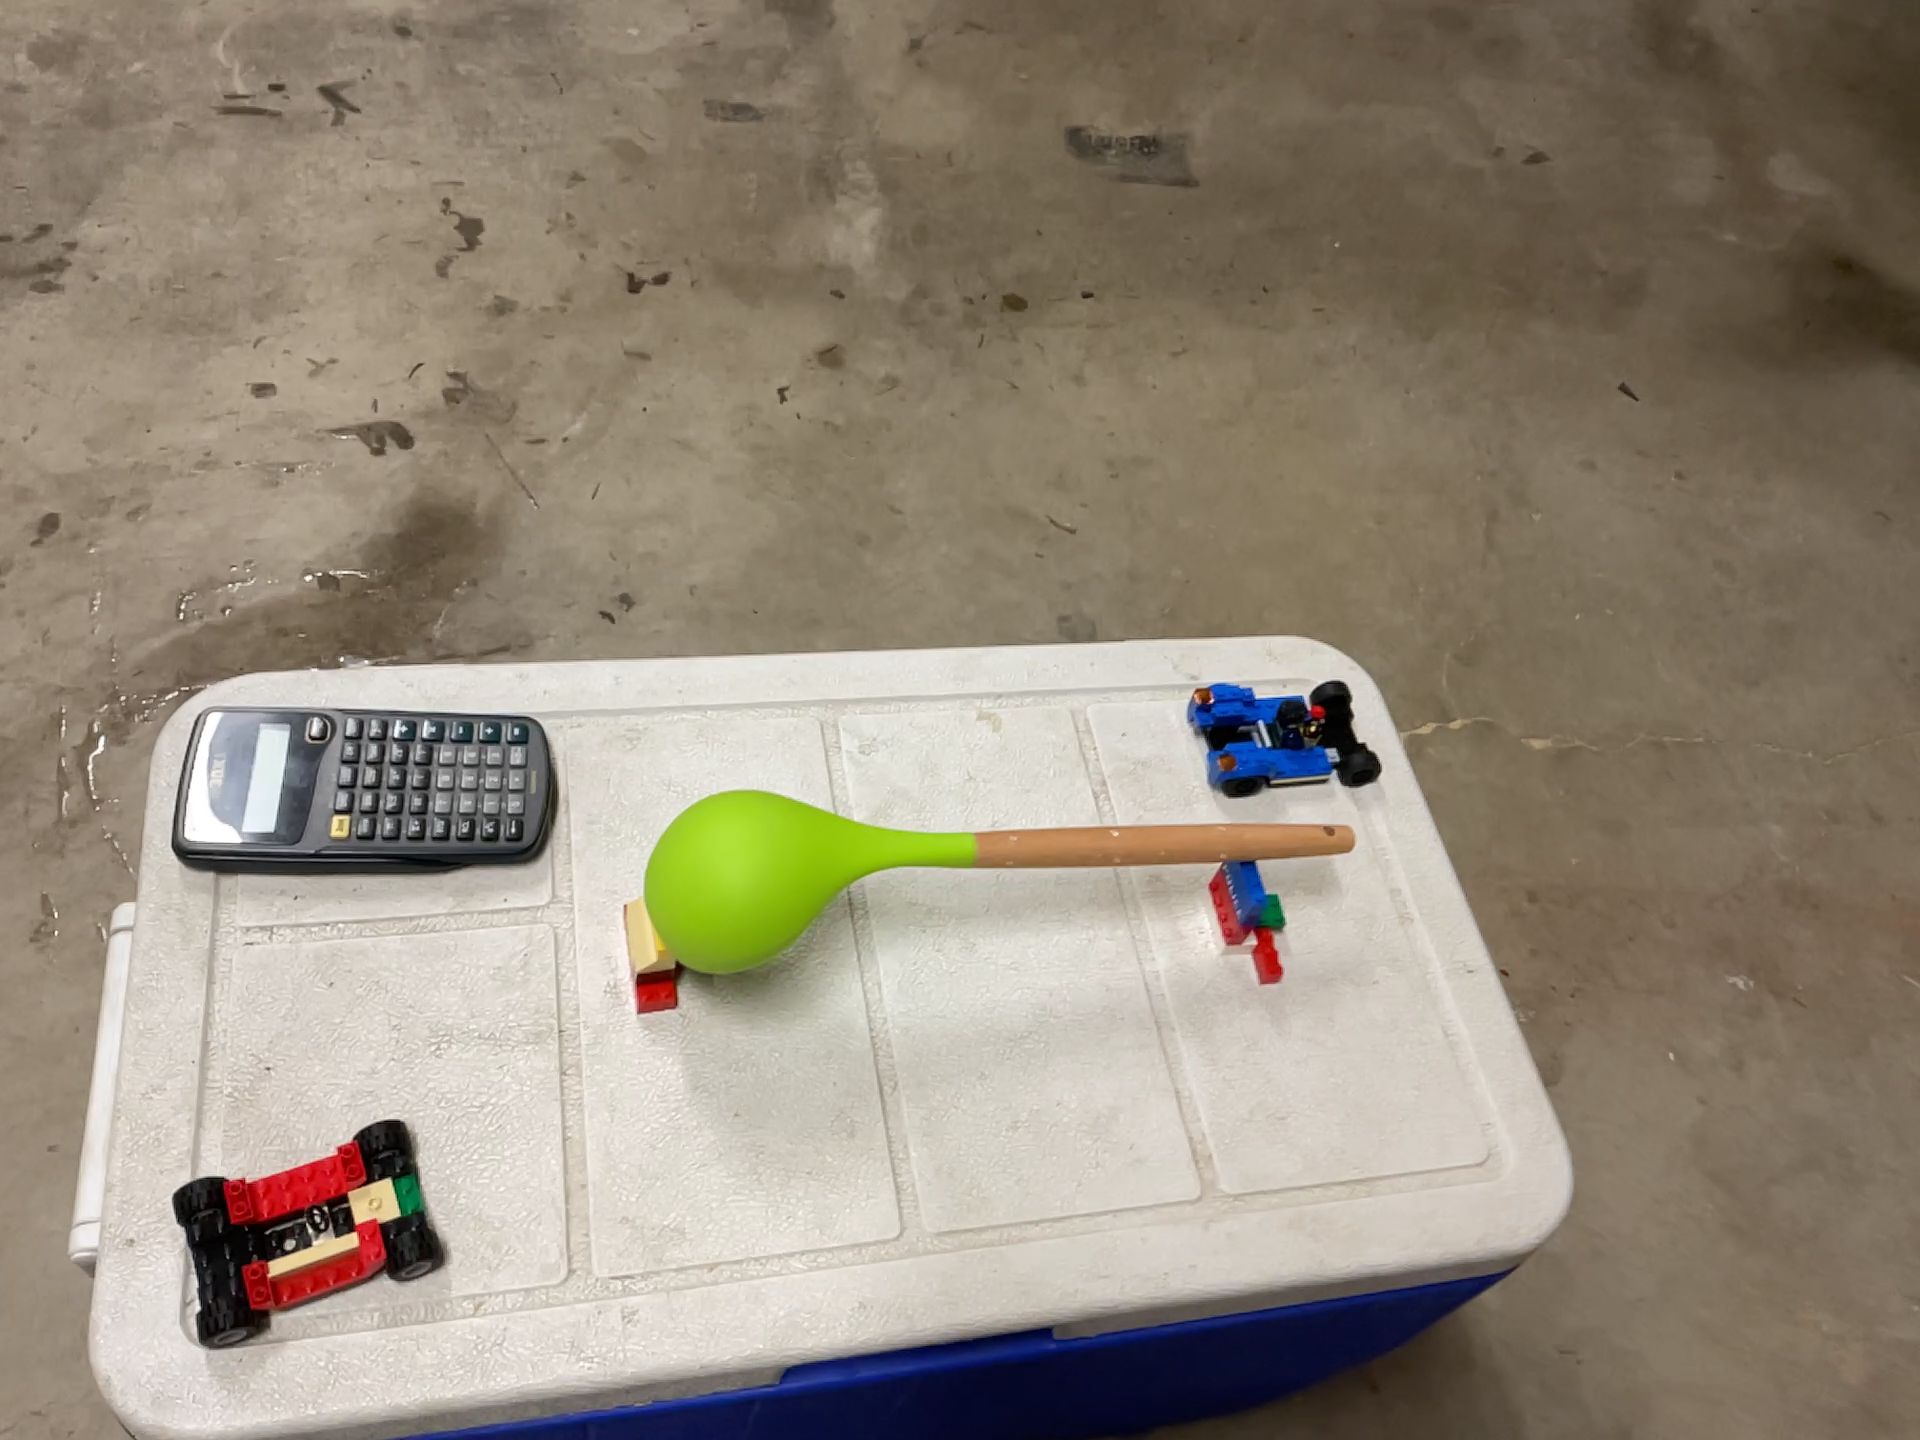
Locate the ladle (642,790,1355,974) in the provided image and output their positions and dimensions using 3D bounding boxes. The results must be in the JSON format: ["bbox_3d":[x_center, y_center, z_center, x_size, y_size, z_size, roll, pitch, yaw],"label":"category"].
[{"bbox_3d":[0.025,0.063,0.688,0.320,0.062,0.078,0,49,-20],"label":"ladle"}]
